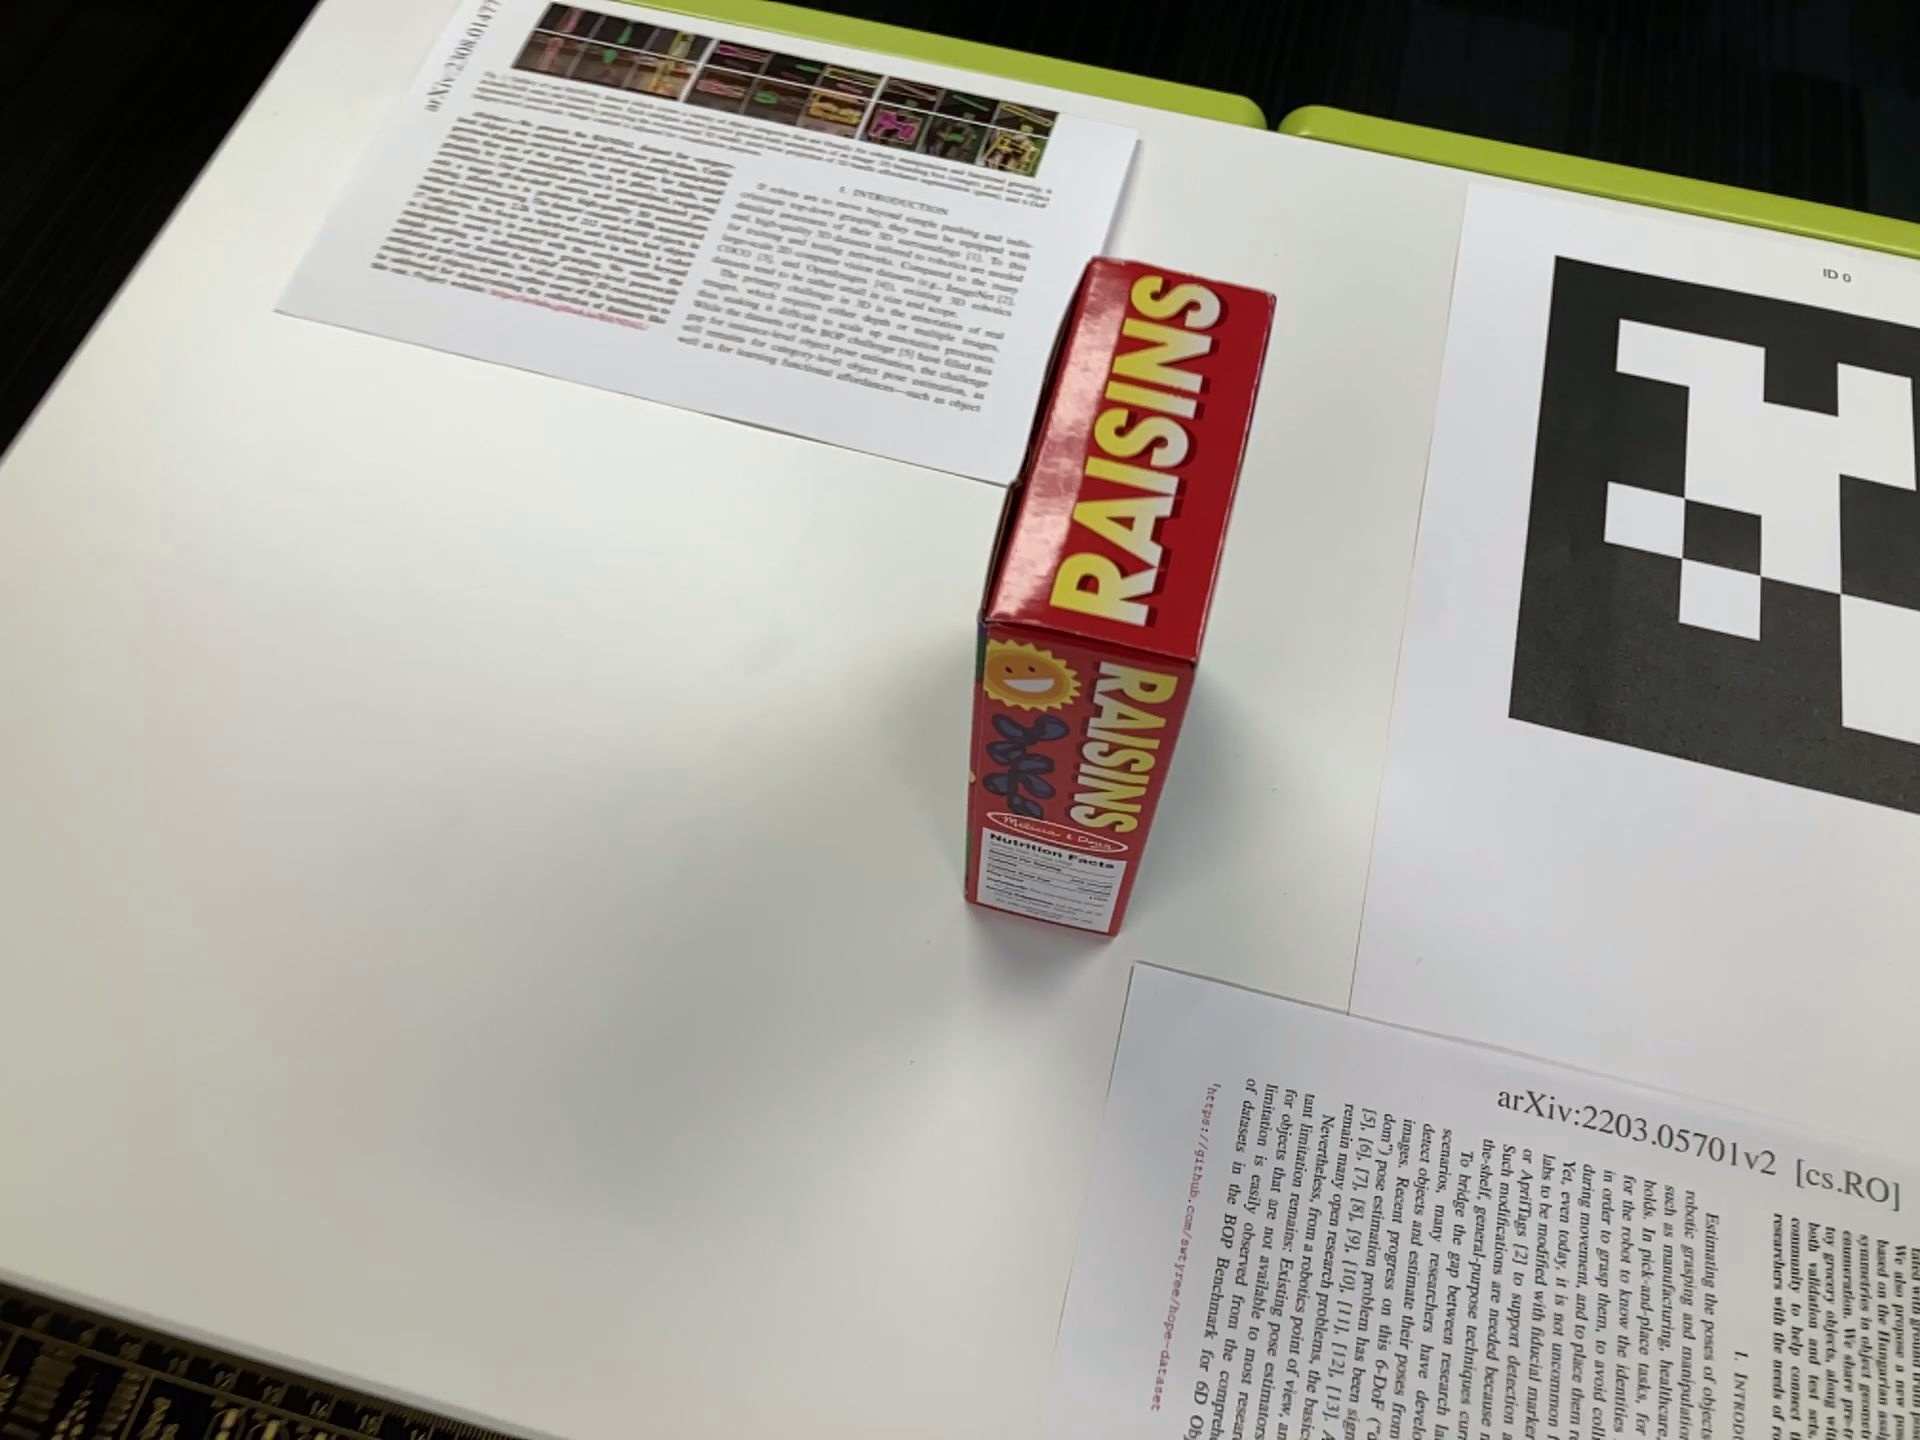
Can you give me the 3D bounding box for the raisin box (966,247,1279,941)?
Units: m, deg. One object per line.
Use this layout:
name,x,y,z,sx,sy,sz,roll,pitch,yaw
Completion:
raisin box,0.030,-0.019,0.327,0.040,0.123,0.086,14,61,6
